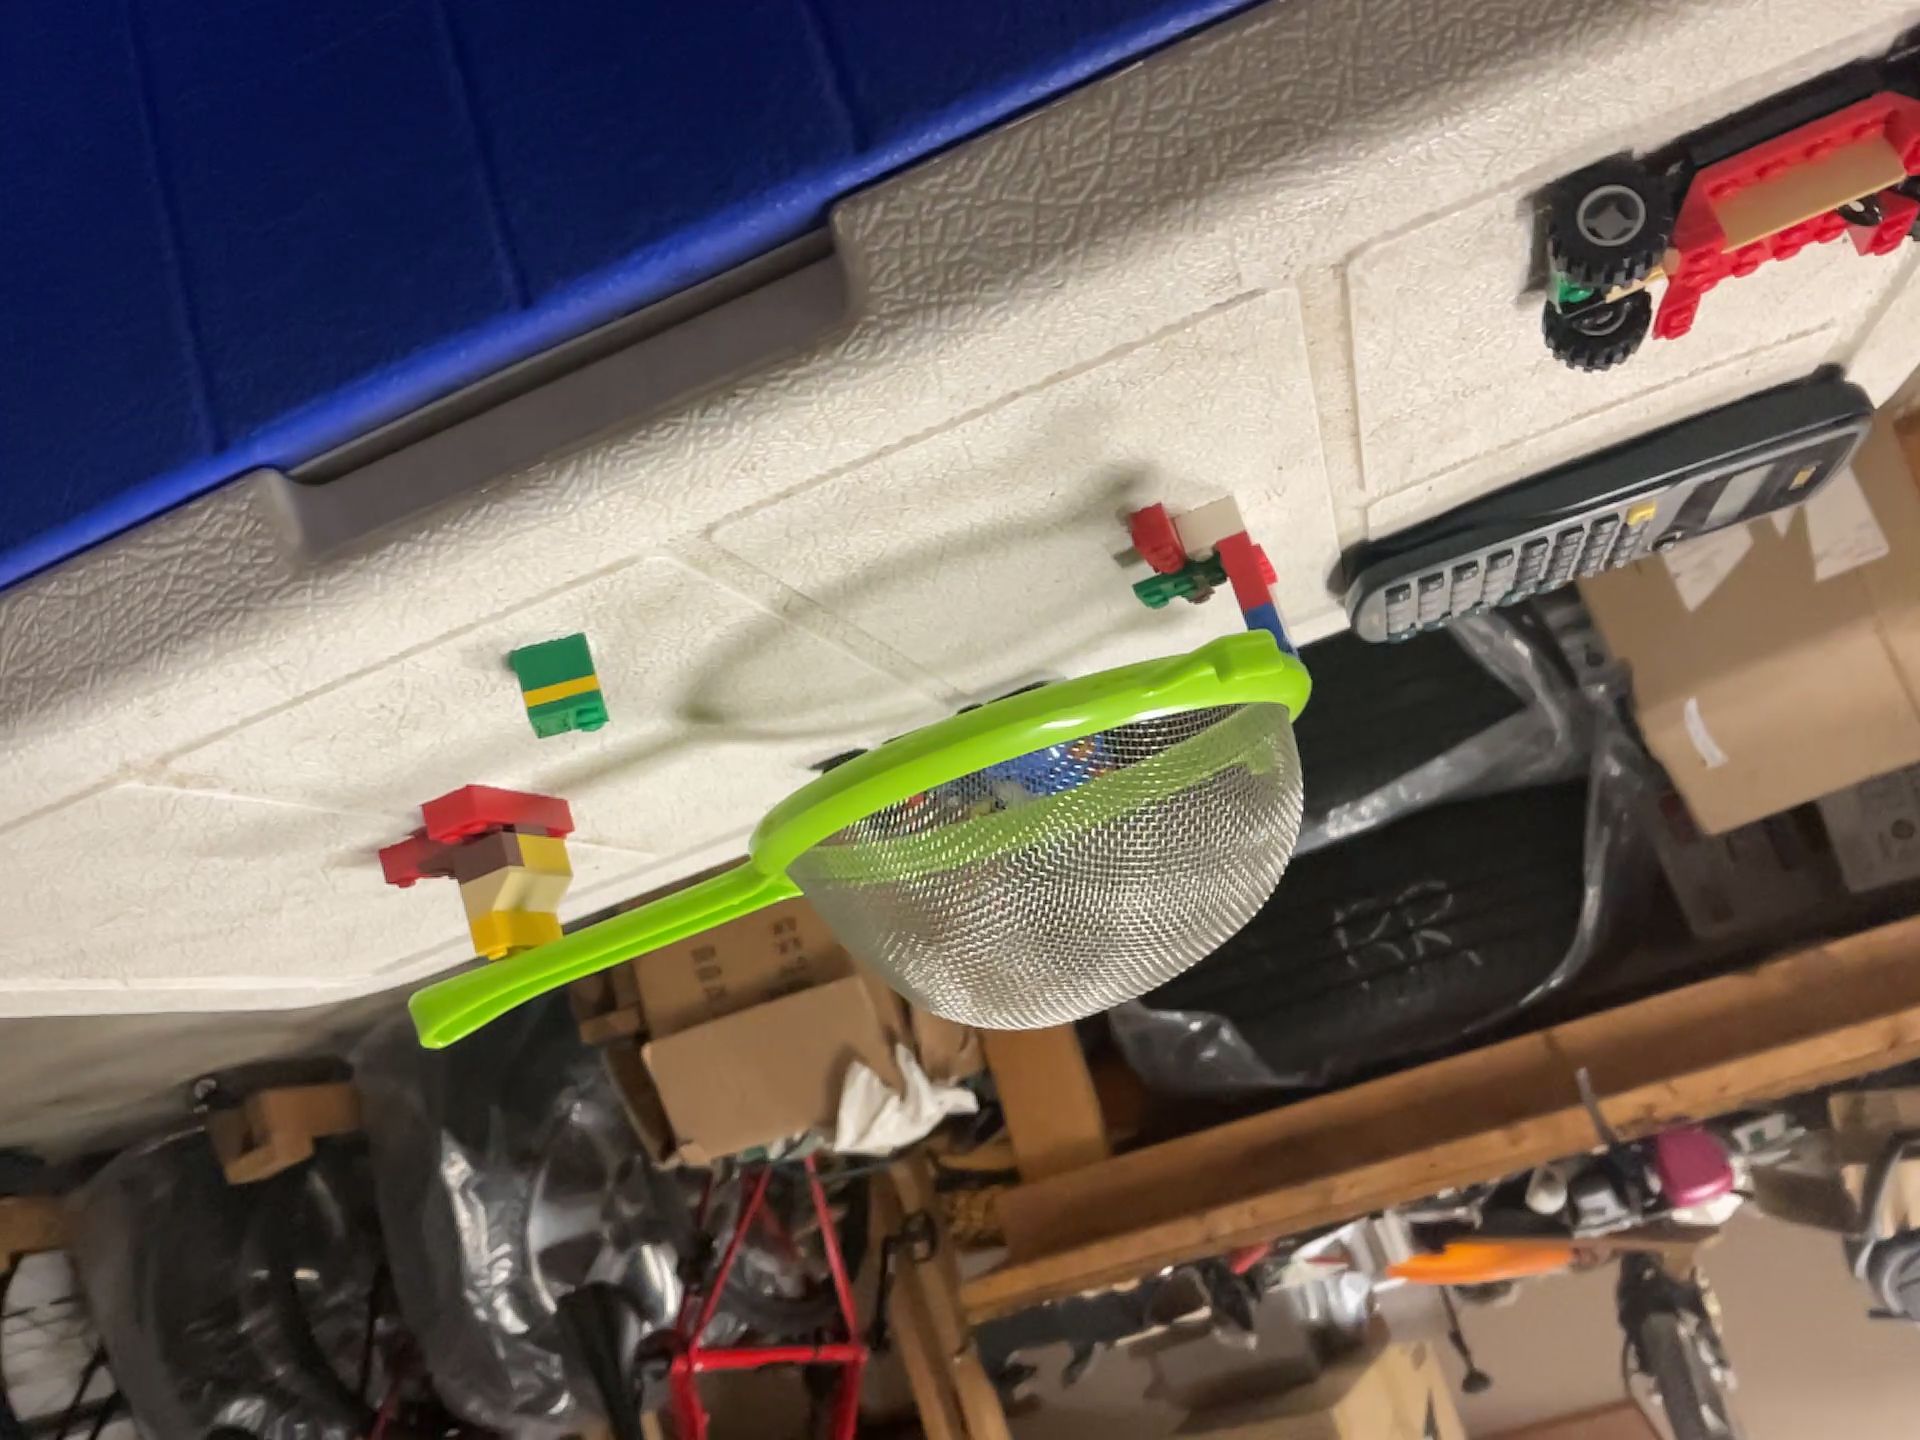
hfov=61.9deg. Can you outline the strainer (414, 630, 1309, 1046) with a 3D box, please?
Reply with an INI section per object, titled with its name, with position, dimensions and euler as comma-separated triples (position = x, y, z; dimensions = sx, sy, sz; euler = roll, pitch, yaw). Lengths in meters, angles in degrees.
[strainer]
position = -0.022, 0.058, 0.417
dimensions = 0.256, 0.069, 0.151
euler = -22, 168, 8
